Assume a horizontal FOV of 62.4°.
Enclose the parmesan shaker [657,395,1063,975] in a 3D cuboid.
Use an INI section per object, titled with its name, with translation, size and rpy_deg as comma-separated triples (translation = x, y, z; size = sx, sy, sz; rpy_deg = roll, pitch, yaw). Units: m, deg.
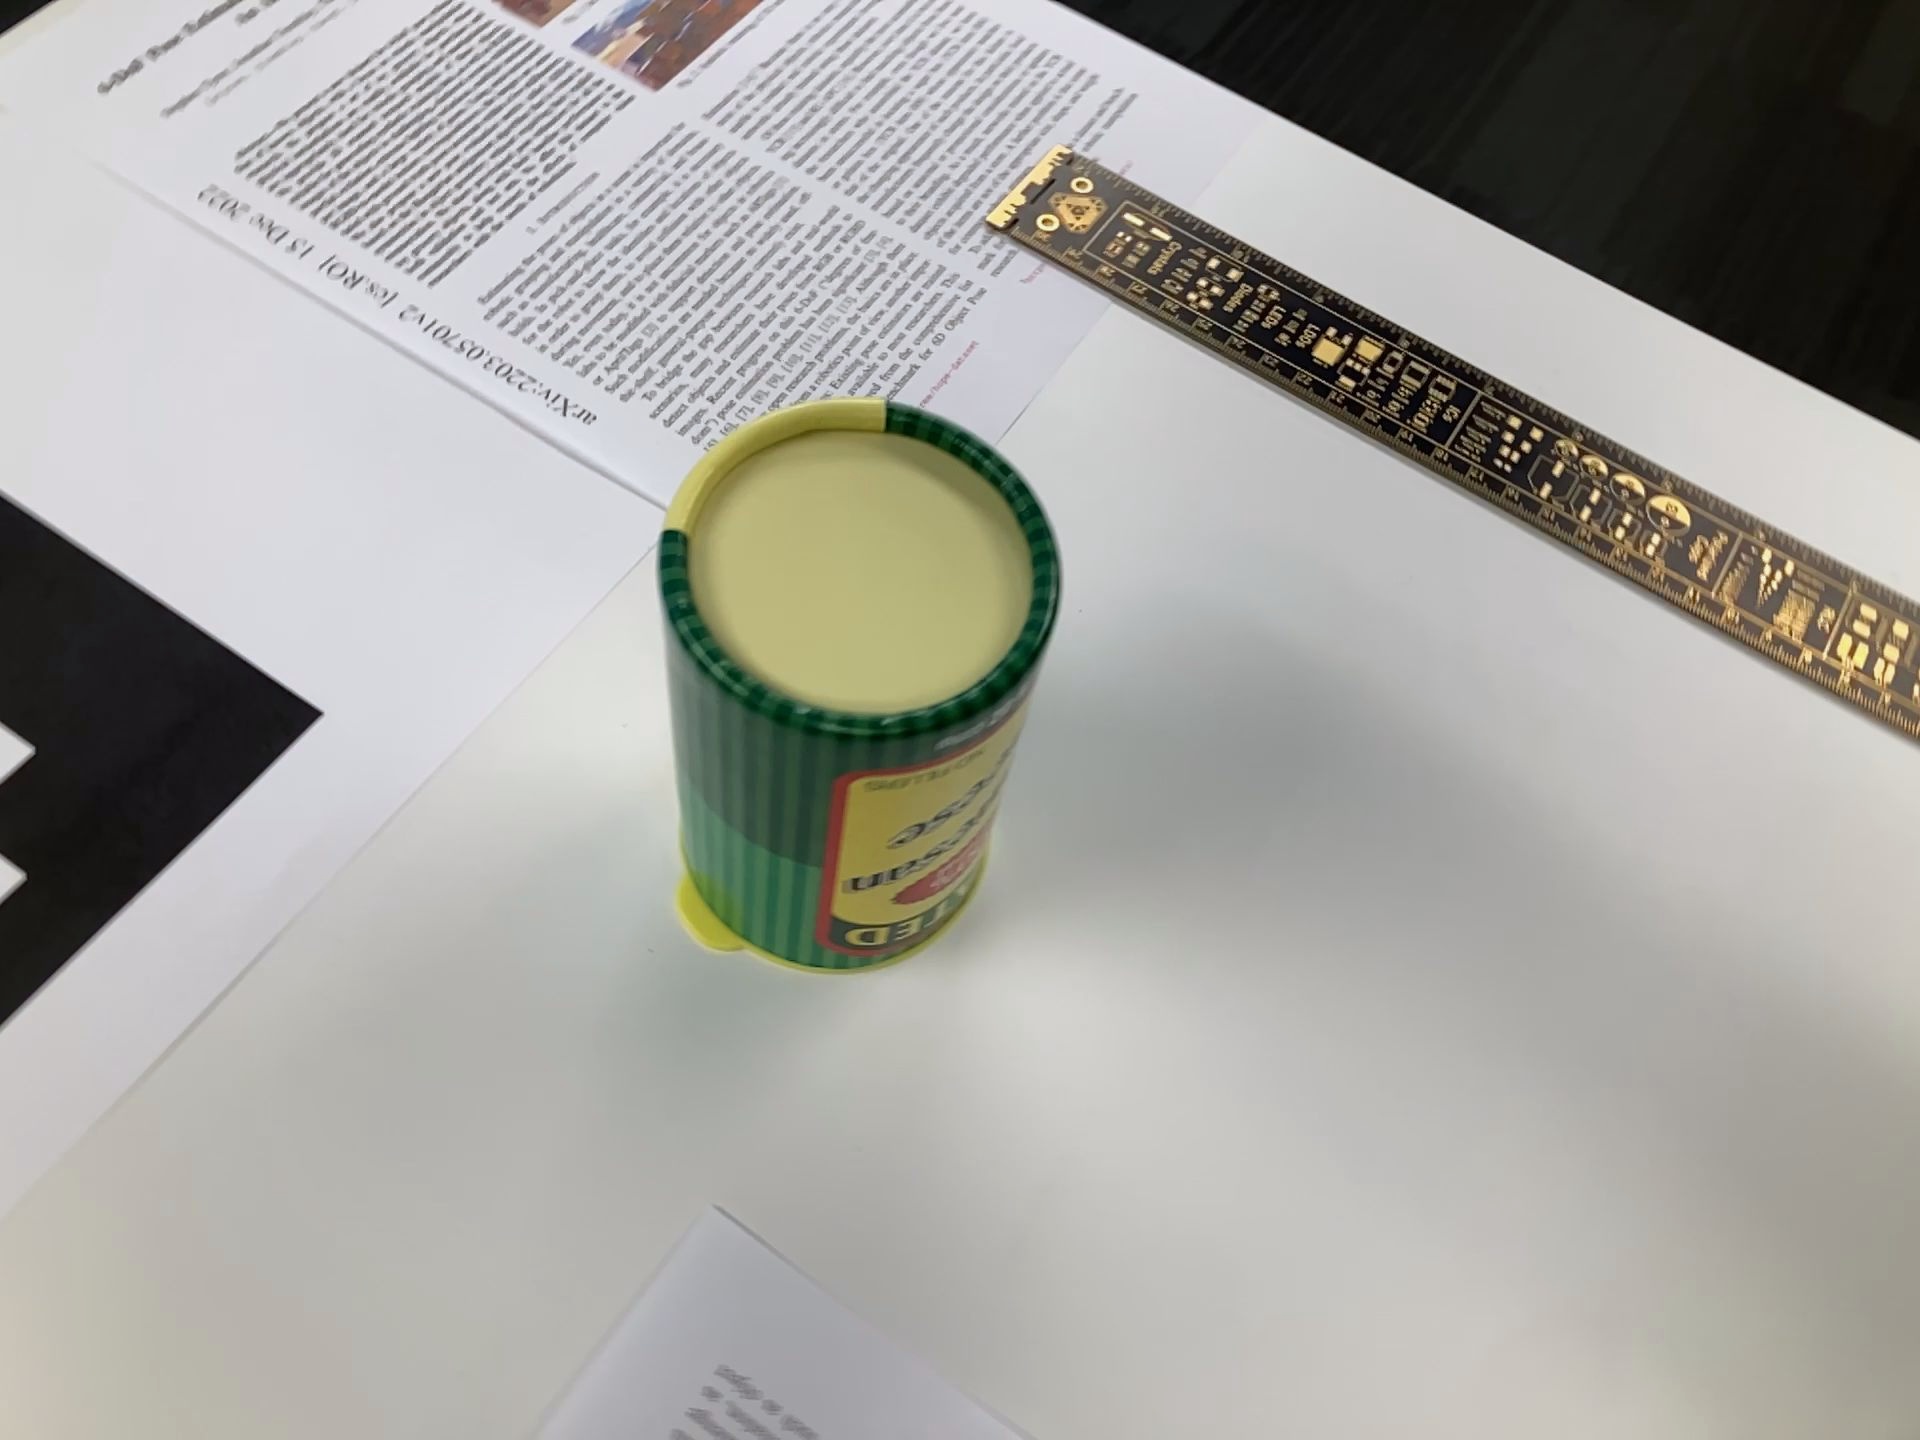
[parmesan shaker]
translation = -0.023, 0.000, 0.293
size = 0.071, 0.103, 0.071
rpy_deg = 3, 61, -5
